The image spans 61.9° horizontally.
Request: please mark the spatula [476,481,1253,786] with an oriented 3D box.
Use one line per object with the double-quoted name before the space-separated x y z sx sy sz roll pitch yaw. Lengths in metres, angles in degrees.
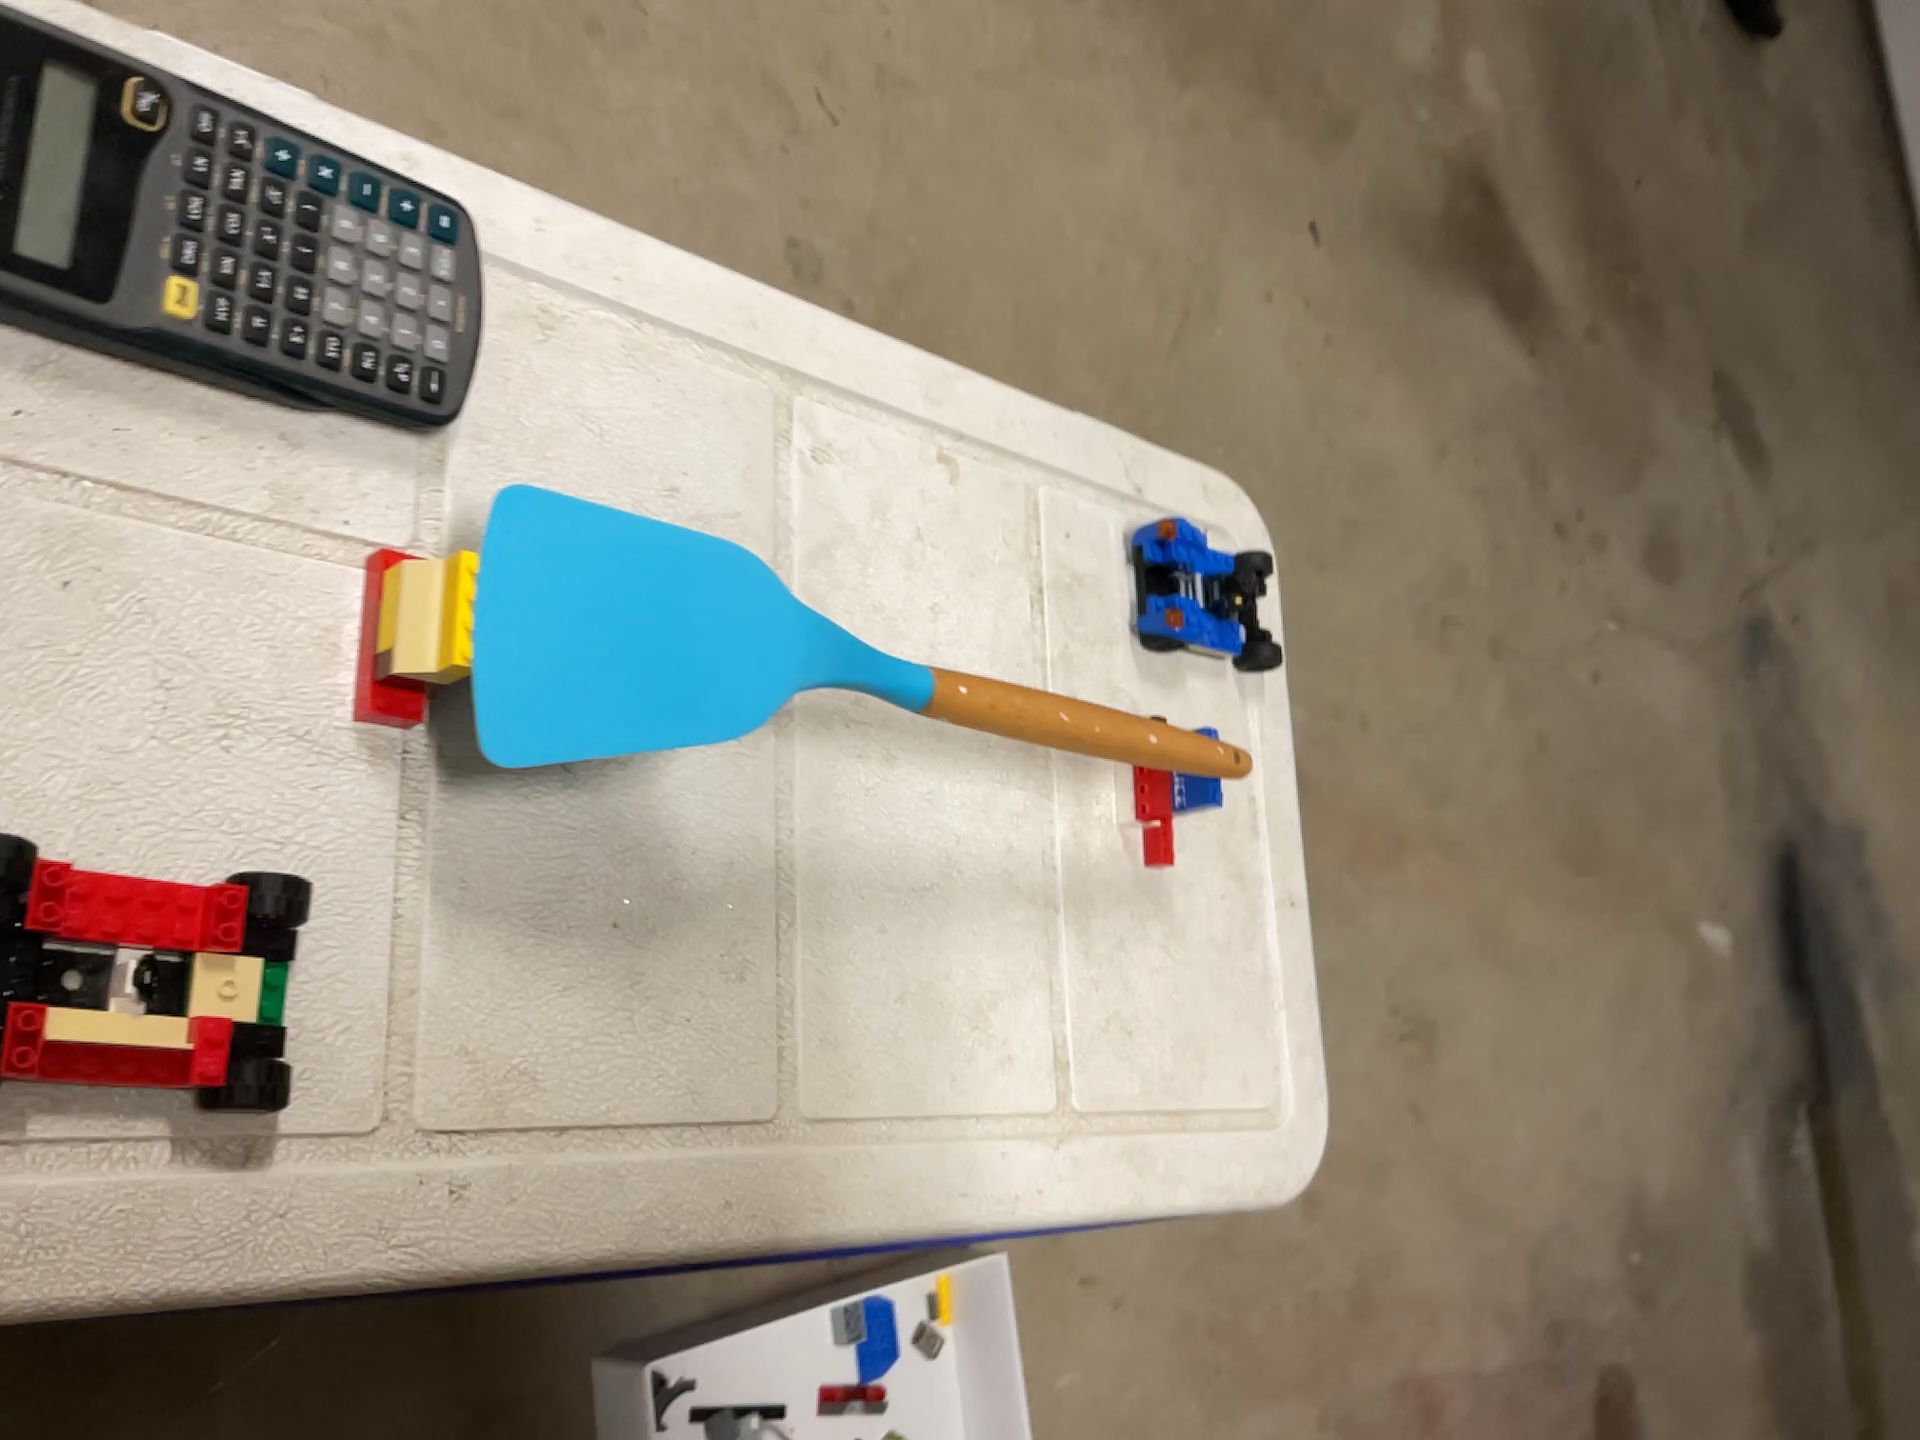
"spatula" -0.004 -0.005 0.523 0.318 0.044 0.082 14 68 -46
